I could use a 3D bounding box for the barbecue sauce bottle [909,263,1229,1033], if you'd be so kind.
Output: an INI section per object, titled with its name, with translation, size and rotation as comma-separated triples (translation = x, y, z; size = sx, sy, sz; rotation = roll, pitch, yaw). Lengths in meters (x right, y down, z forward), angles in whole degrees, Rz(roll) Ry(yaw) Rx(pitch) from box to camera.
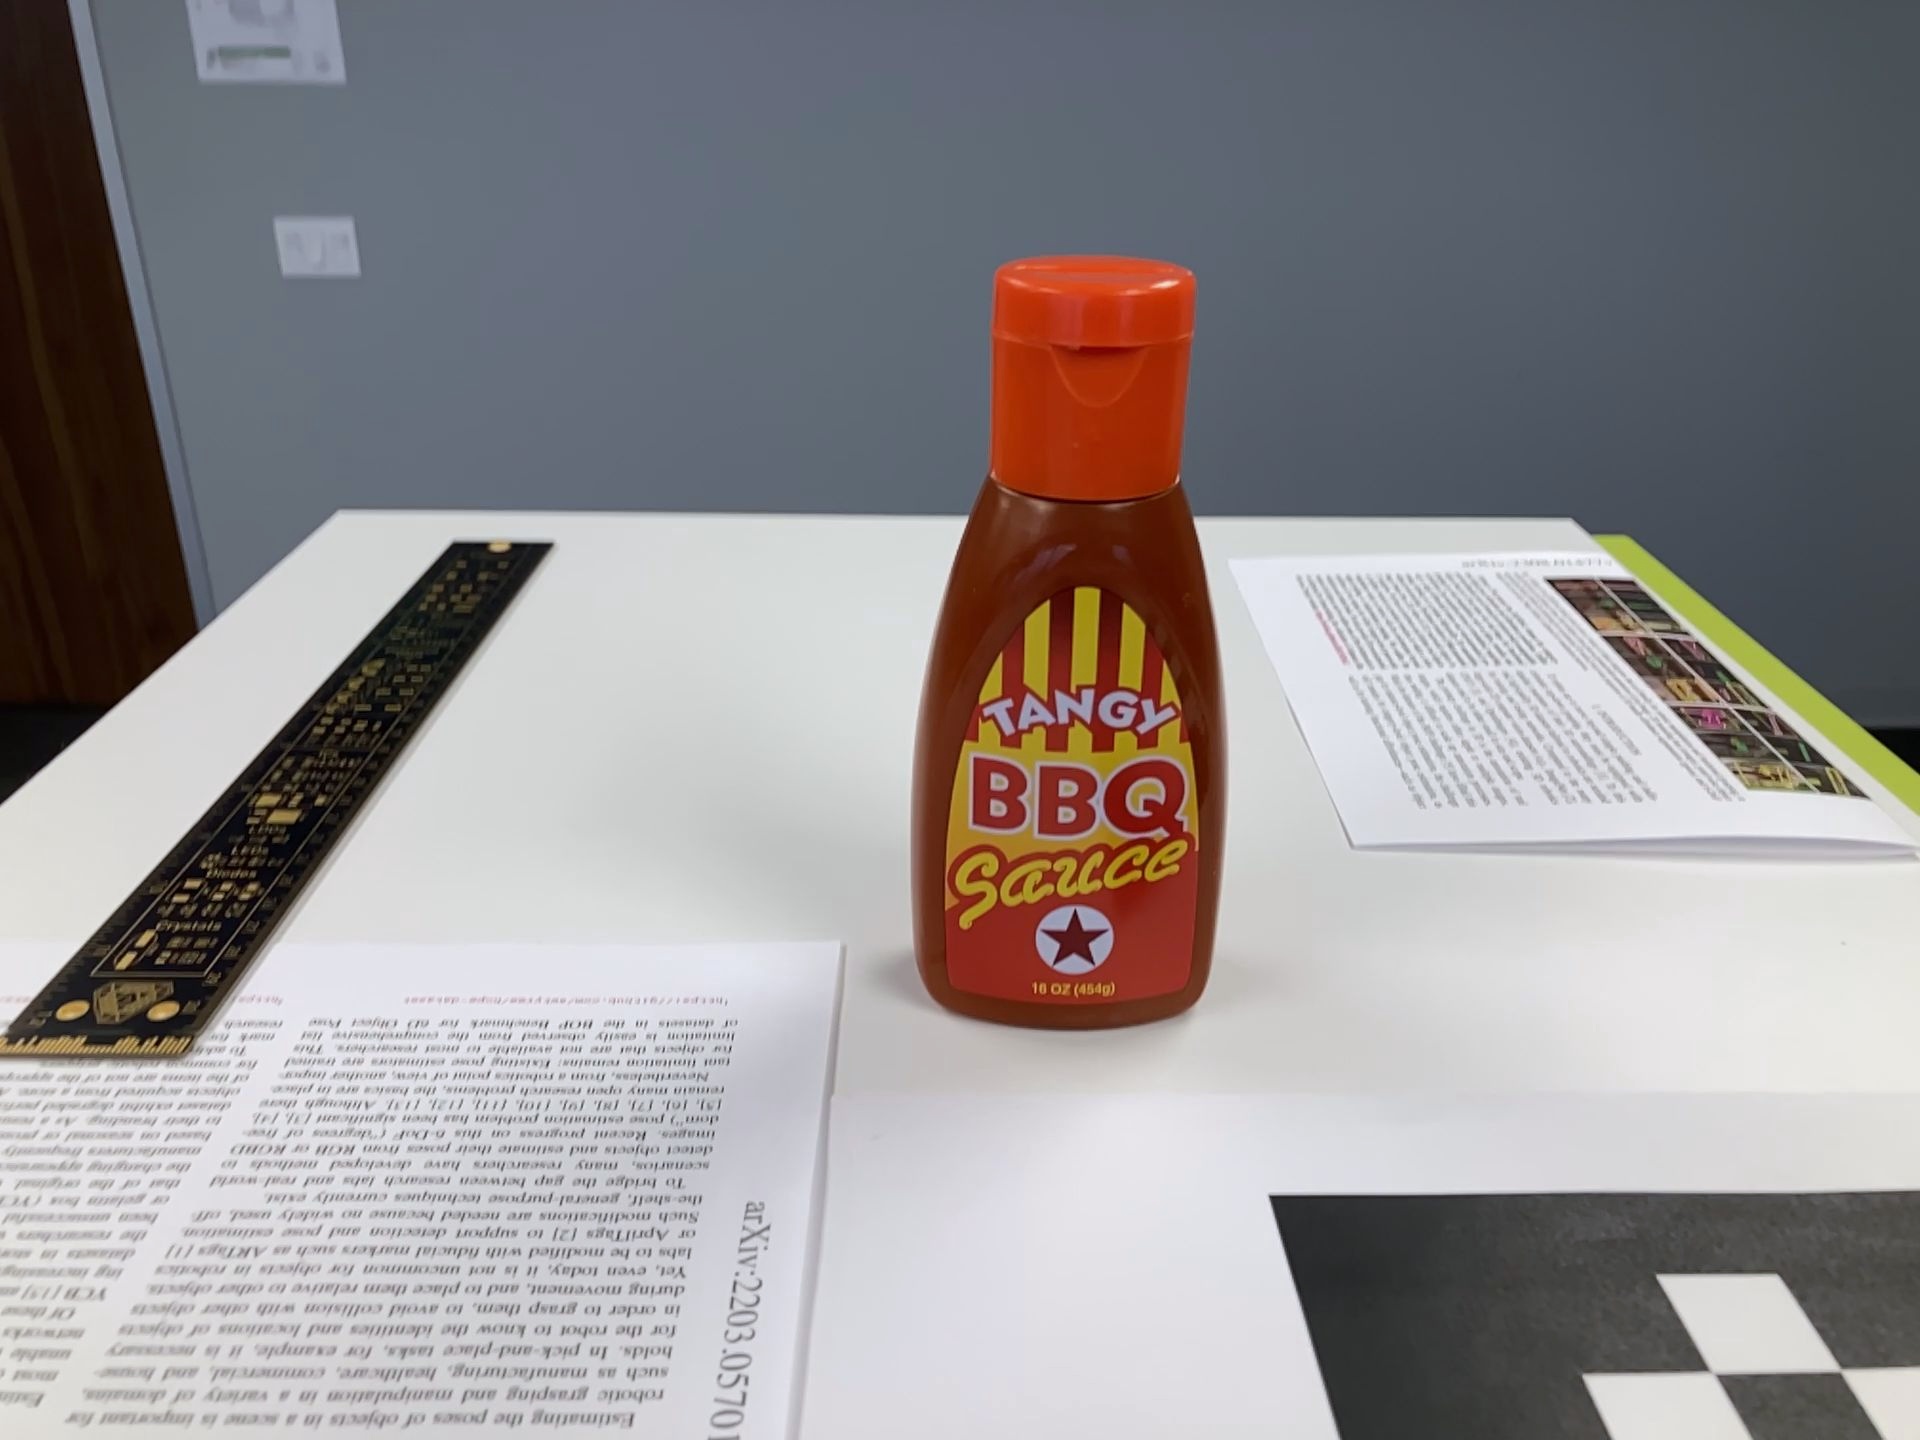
[barbecue sauce bottle]
translation = 0.023, -0.011, 0.313
size = 0.065, 0.148, 0.043
rotation = 1, 24, 0
